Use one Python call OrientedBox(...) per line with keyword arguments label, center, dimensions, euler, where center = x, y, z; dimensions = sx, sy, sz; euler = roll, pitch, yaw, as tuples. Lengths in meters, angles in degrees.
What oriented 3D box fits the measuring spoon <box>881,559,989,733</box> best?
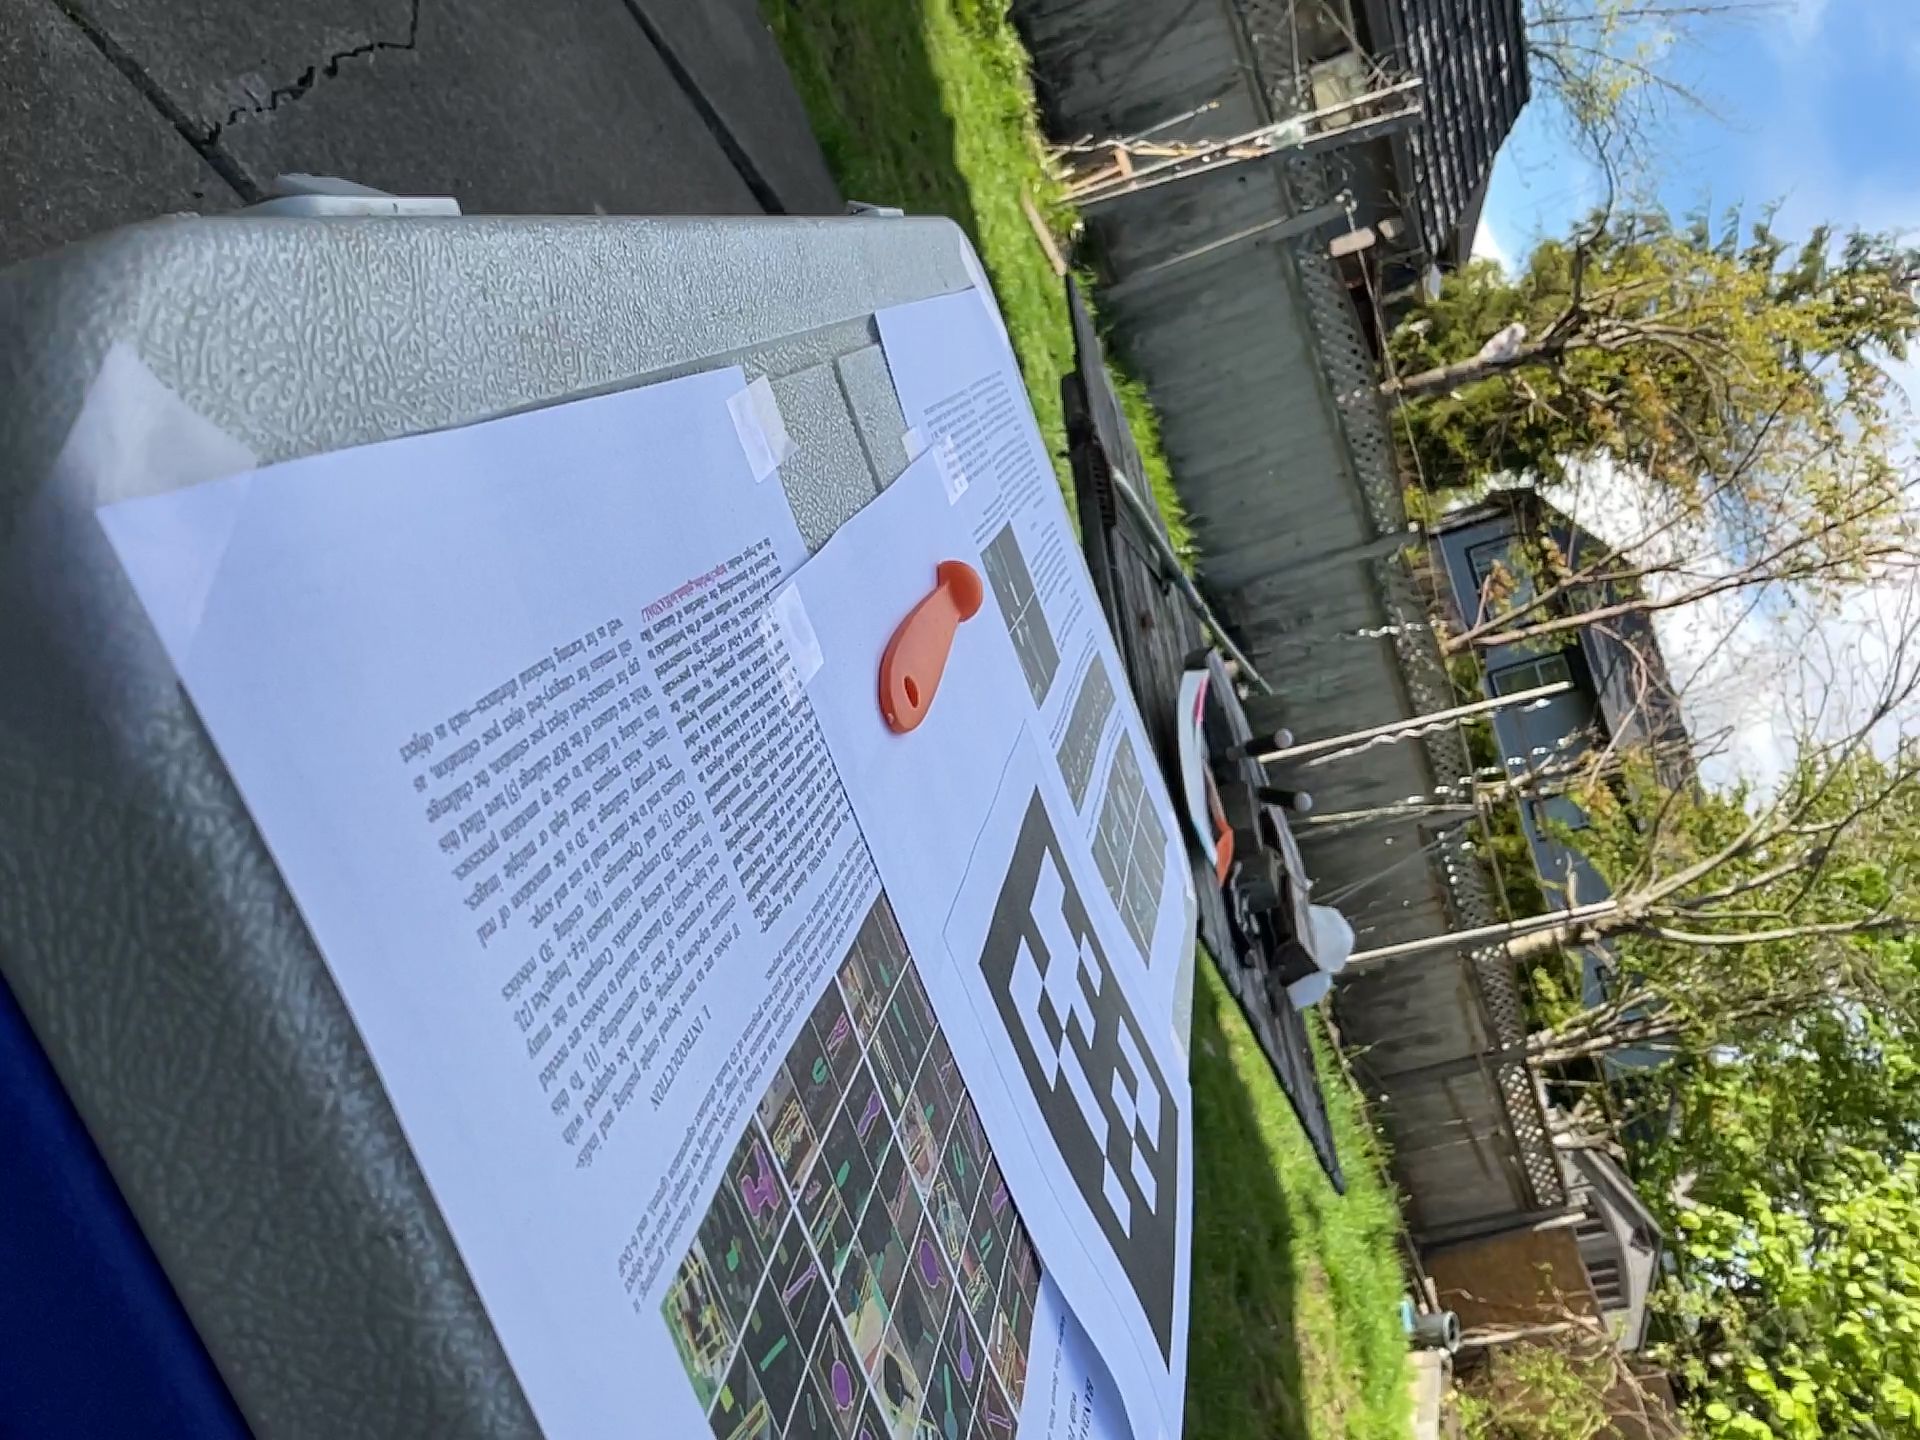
OrientedBox(label="measuring spoon", center=(-0.005, -0.023, 0.441), dimensions=(0.021, 0.011, 0.117), euler=(63, 17, -15))
